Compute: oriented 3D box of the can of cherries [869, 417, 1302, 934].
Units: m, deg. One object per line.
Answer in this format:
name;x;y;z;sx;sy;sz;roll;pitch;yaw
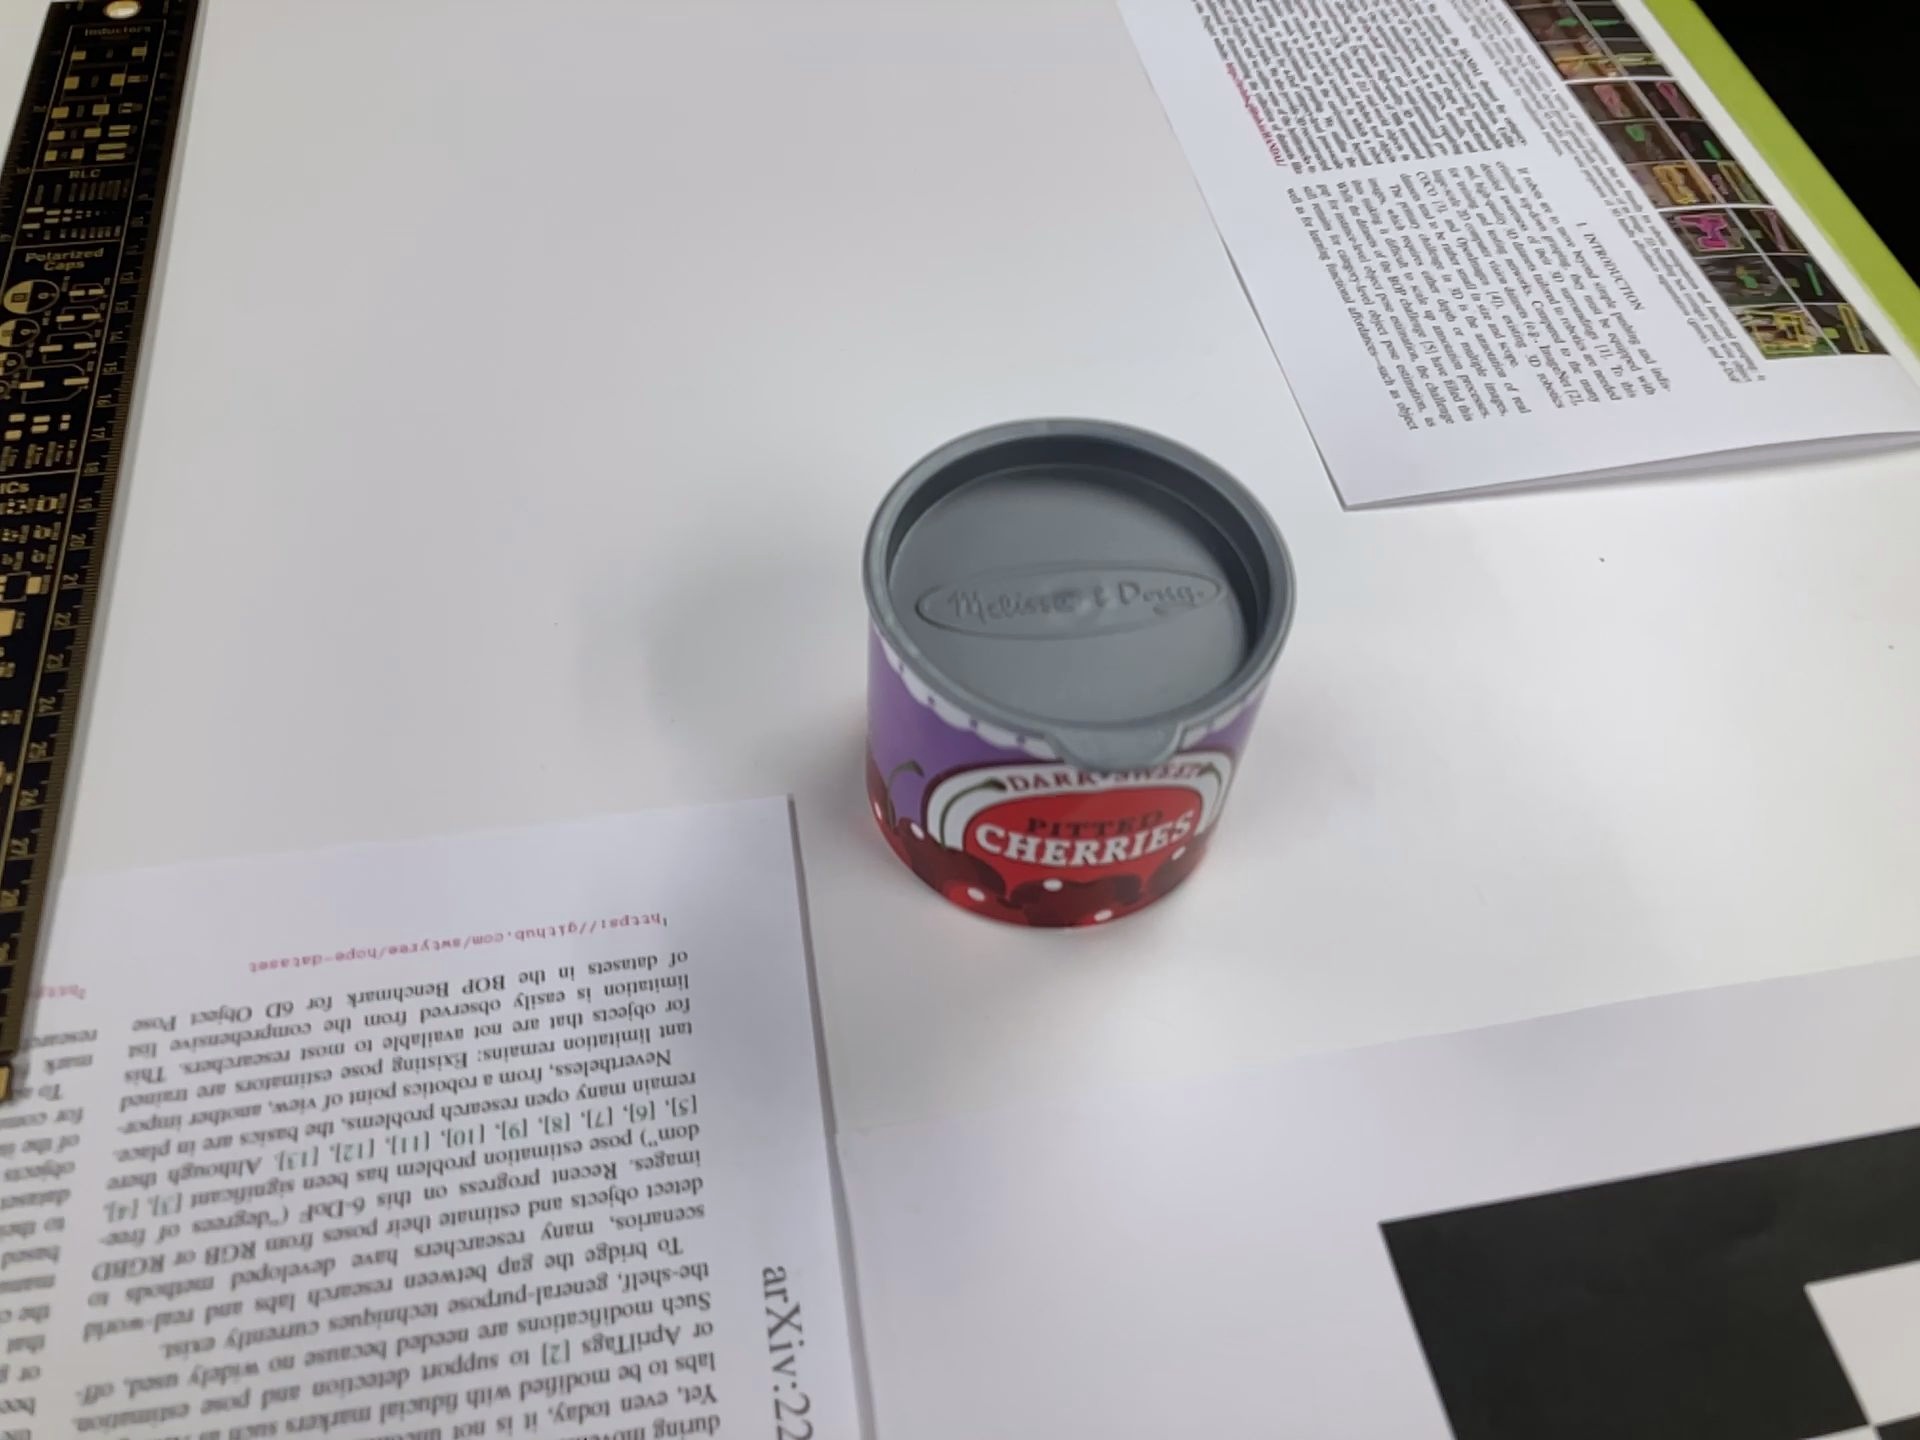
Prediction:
can of cherries;0.018;-0.005;0.262;0.071;0.058;0.071;2;53;-2
